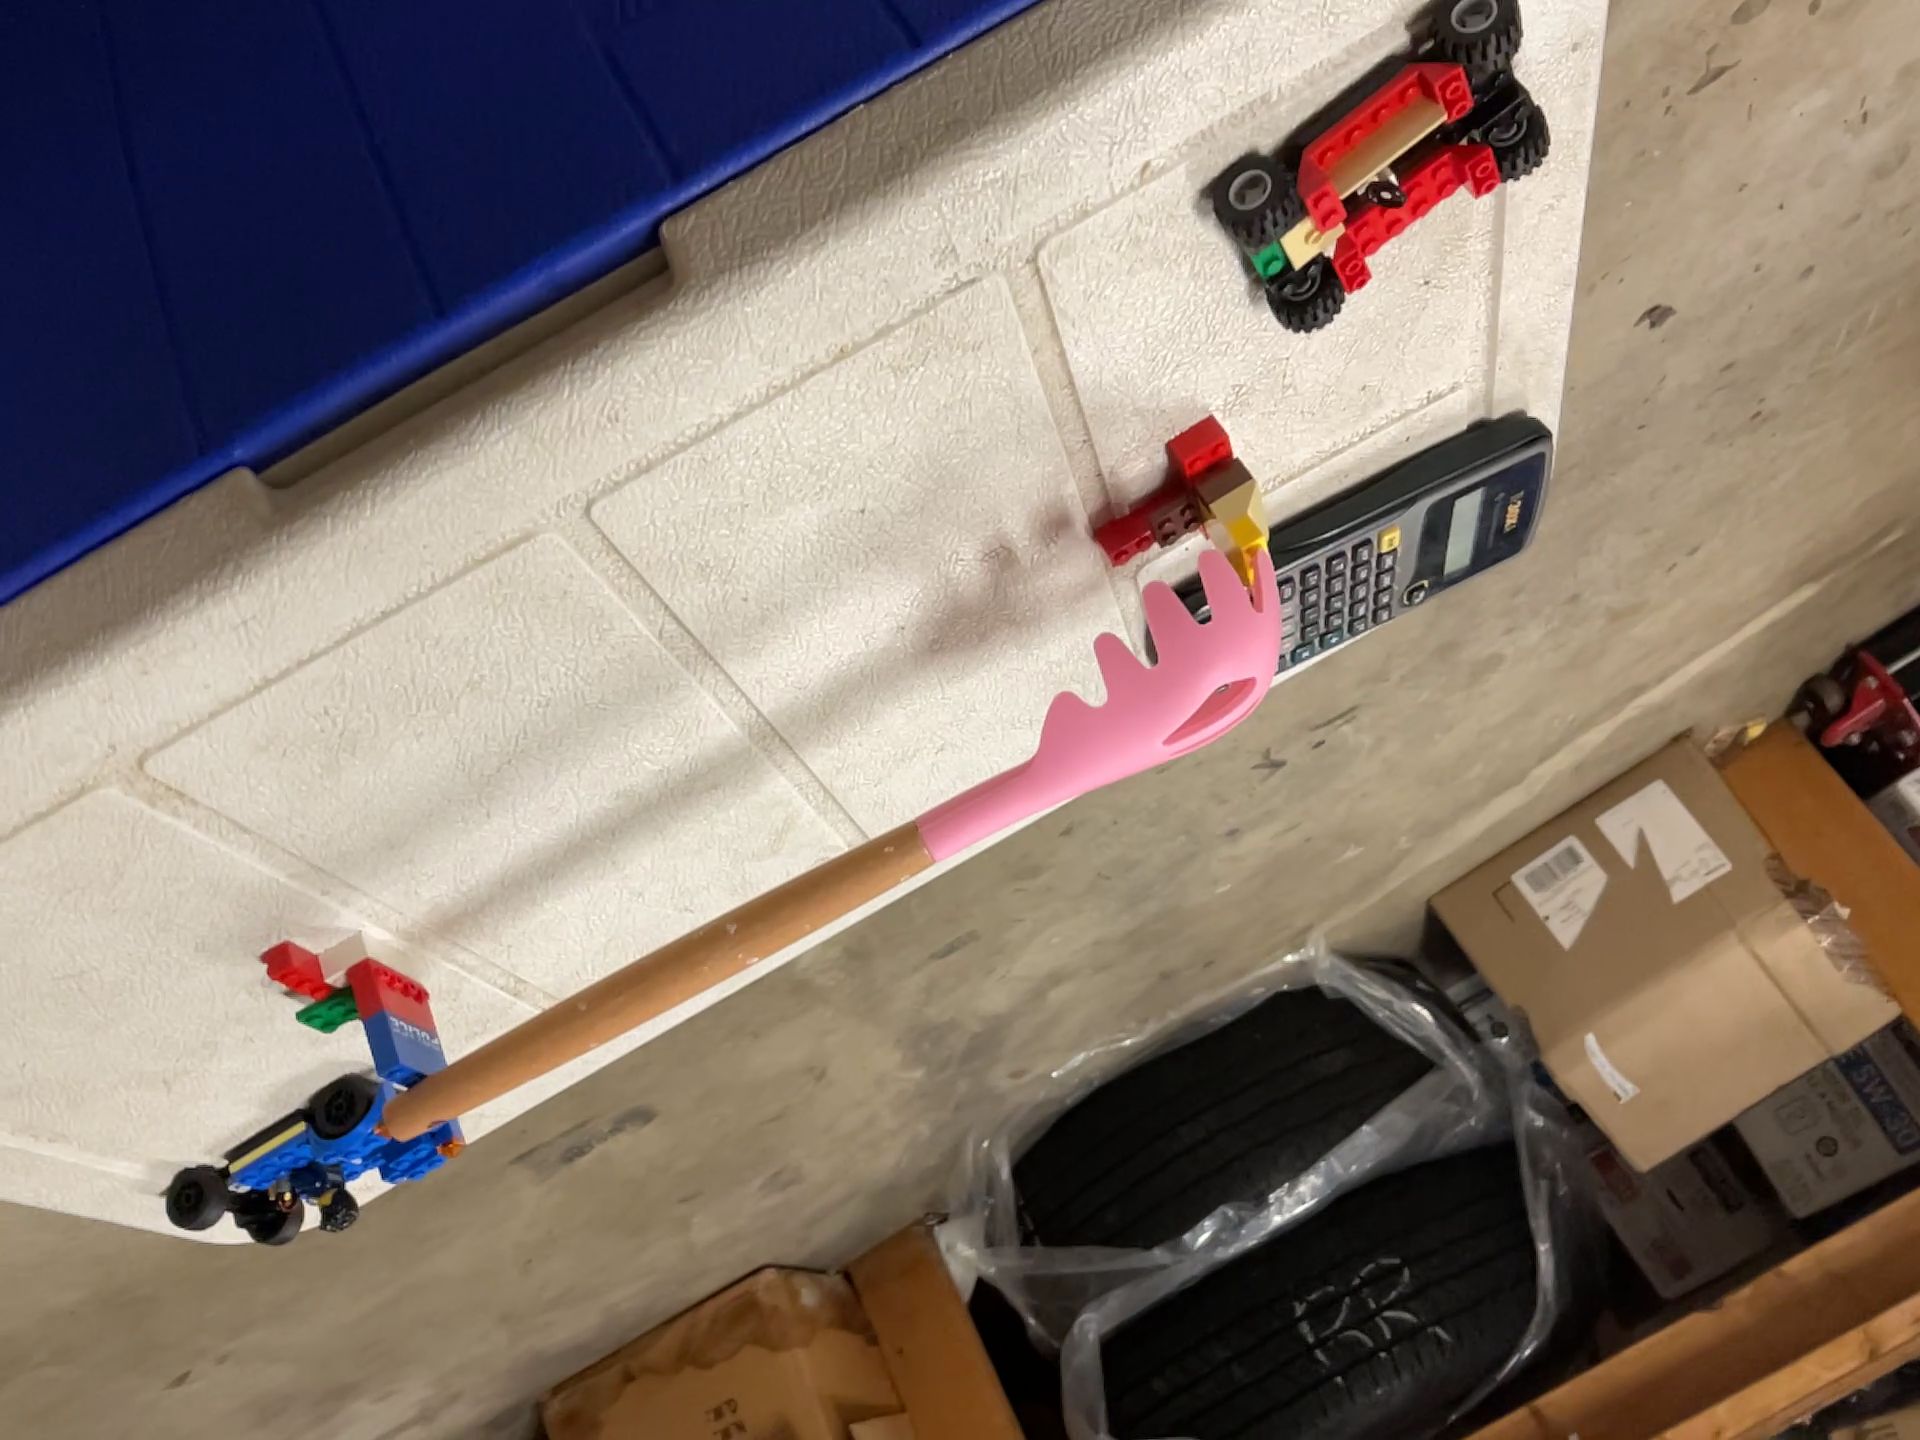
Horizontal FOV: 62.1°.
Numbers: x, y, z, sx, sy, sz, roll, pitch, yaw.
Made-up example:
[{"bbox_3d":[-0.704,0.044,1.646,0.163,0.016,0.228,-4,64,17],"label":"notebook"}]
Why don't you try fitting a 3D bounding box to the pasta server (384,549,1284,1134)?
[{"bbox_3d":[-0.037,0.042,0.485,0.316,0.040,0.060,-28,152,3],"label":"pasta server"}]
